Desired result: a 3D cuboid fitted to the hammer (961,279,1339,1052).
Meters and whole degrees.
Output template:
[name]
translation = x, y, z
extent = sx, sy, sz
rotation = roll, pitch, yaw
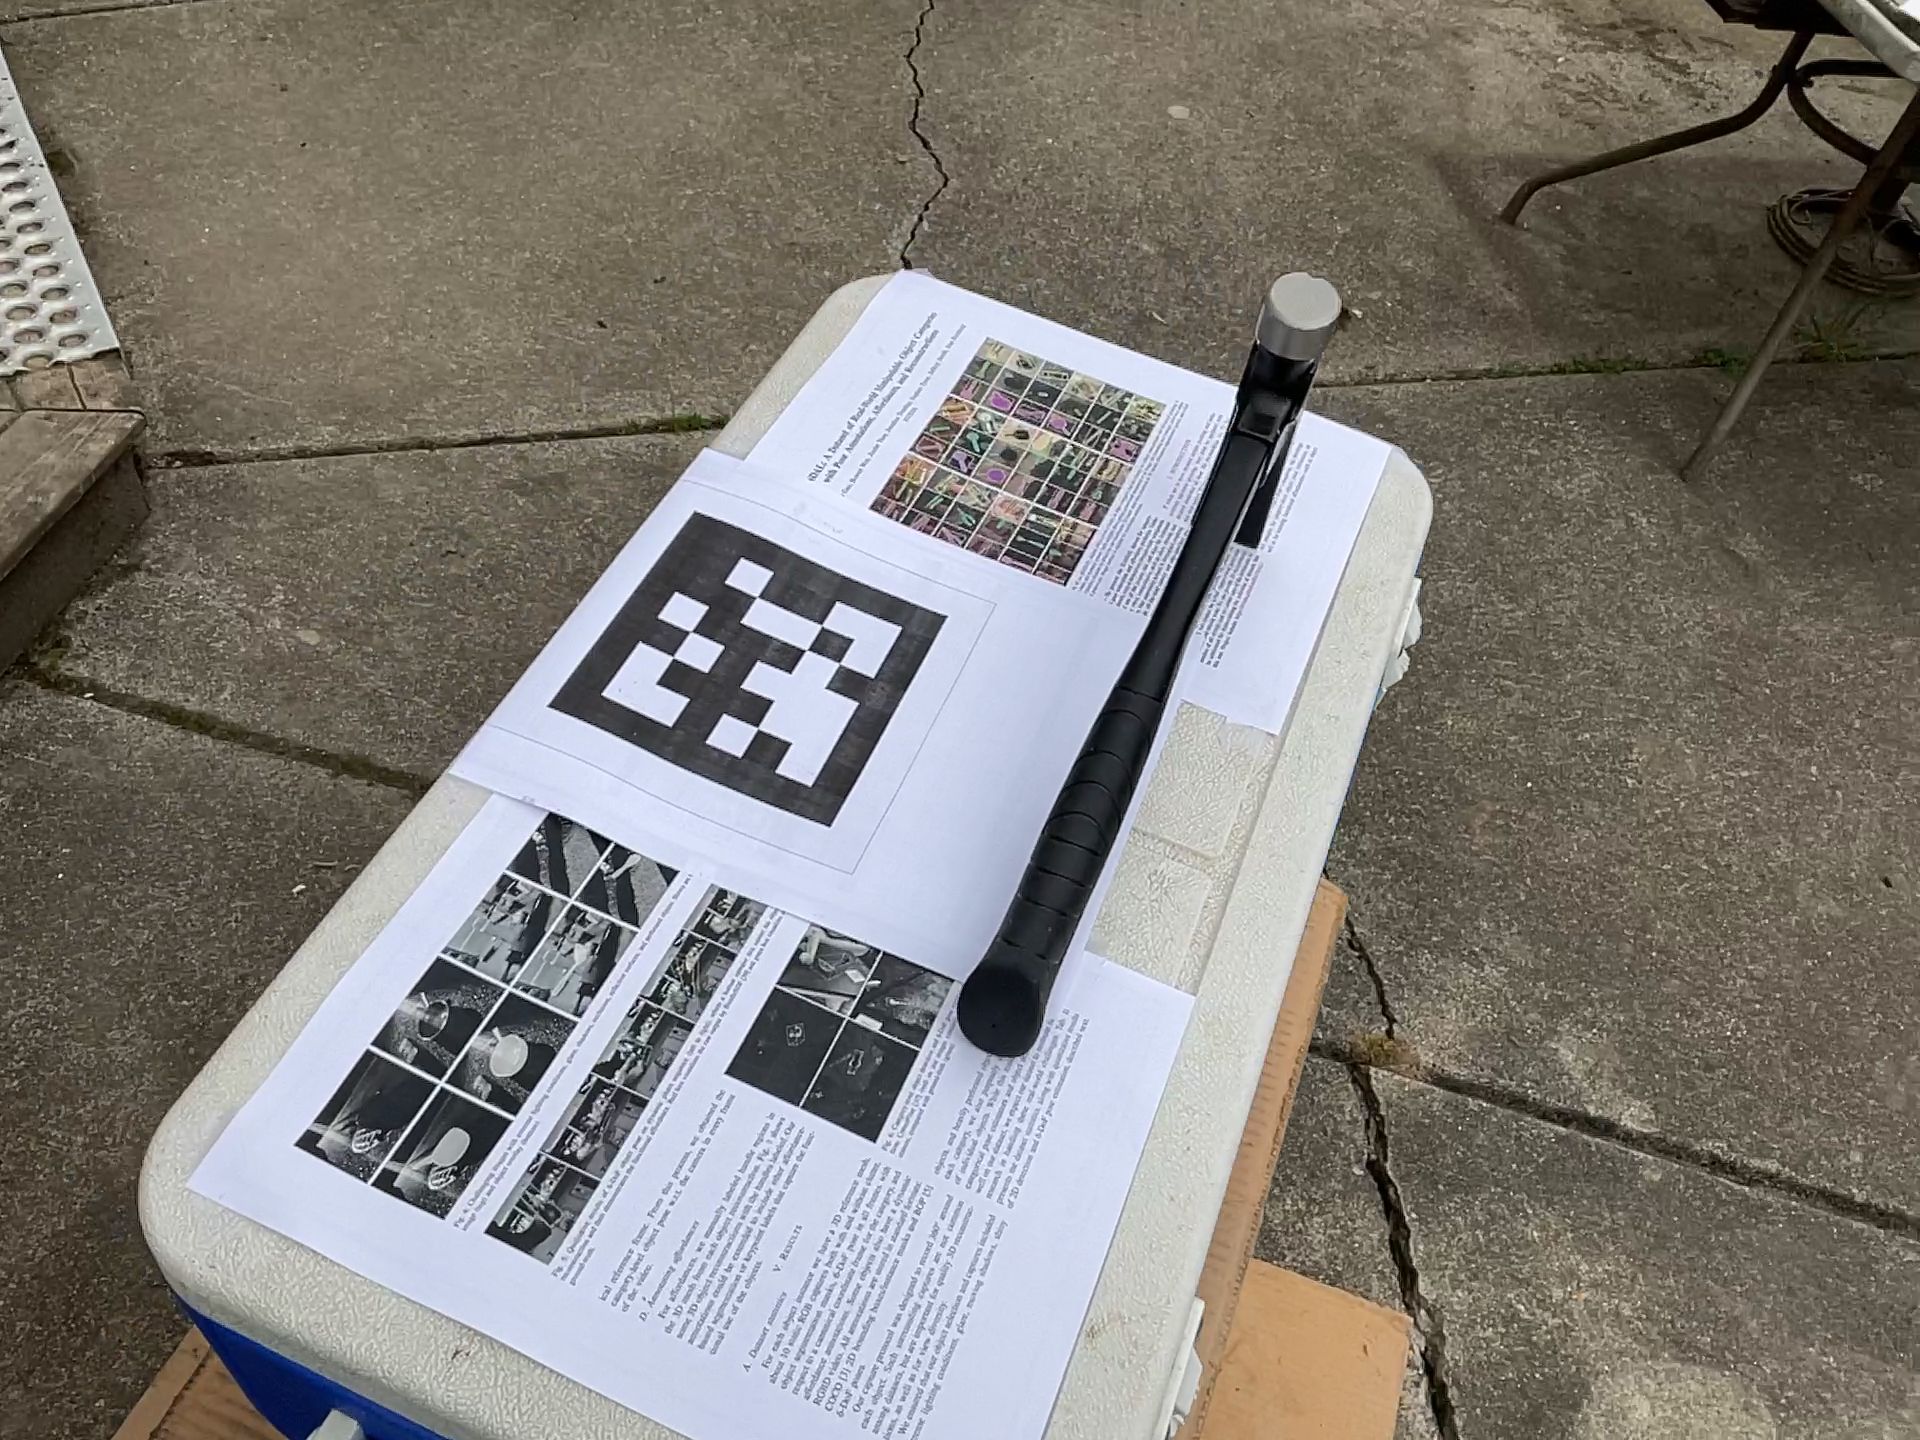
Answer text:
[hammer]
translation = 0.079, -0.018, 0.656
extent = 0.035, 0.146, 0.335
rotation = 22, 62, 10
